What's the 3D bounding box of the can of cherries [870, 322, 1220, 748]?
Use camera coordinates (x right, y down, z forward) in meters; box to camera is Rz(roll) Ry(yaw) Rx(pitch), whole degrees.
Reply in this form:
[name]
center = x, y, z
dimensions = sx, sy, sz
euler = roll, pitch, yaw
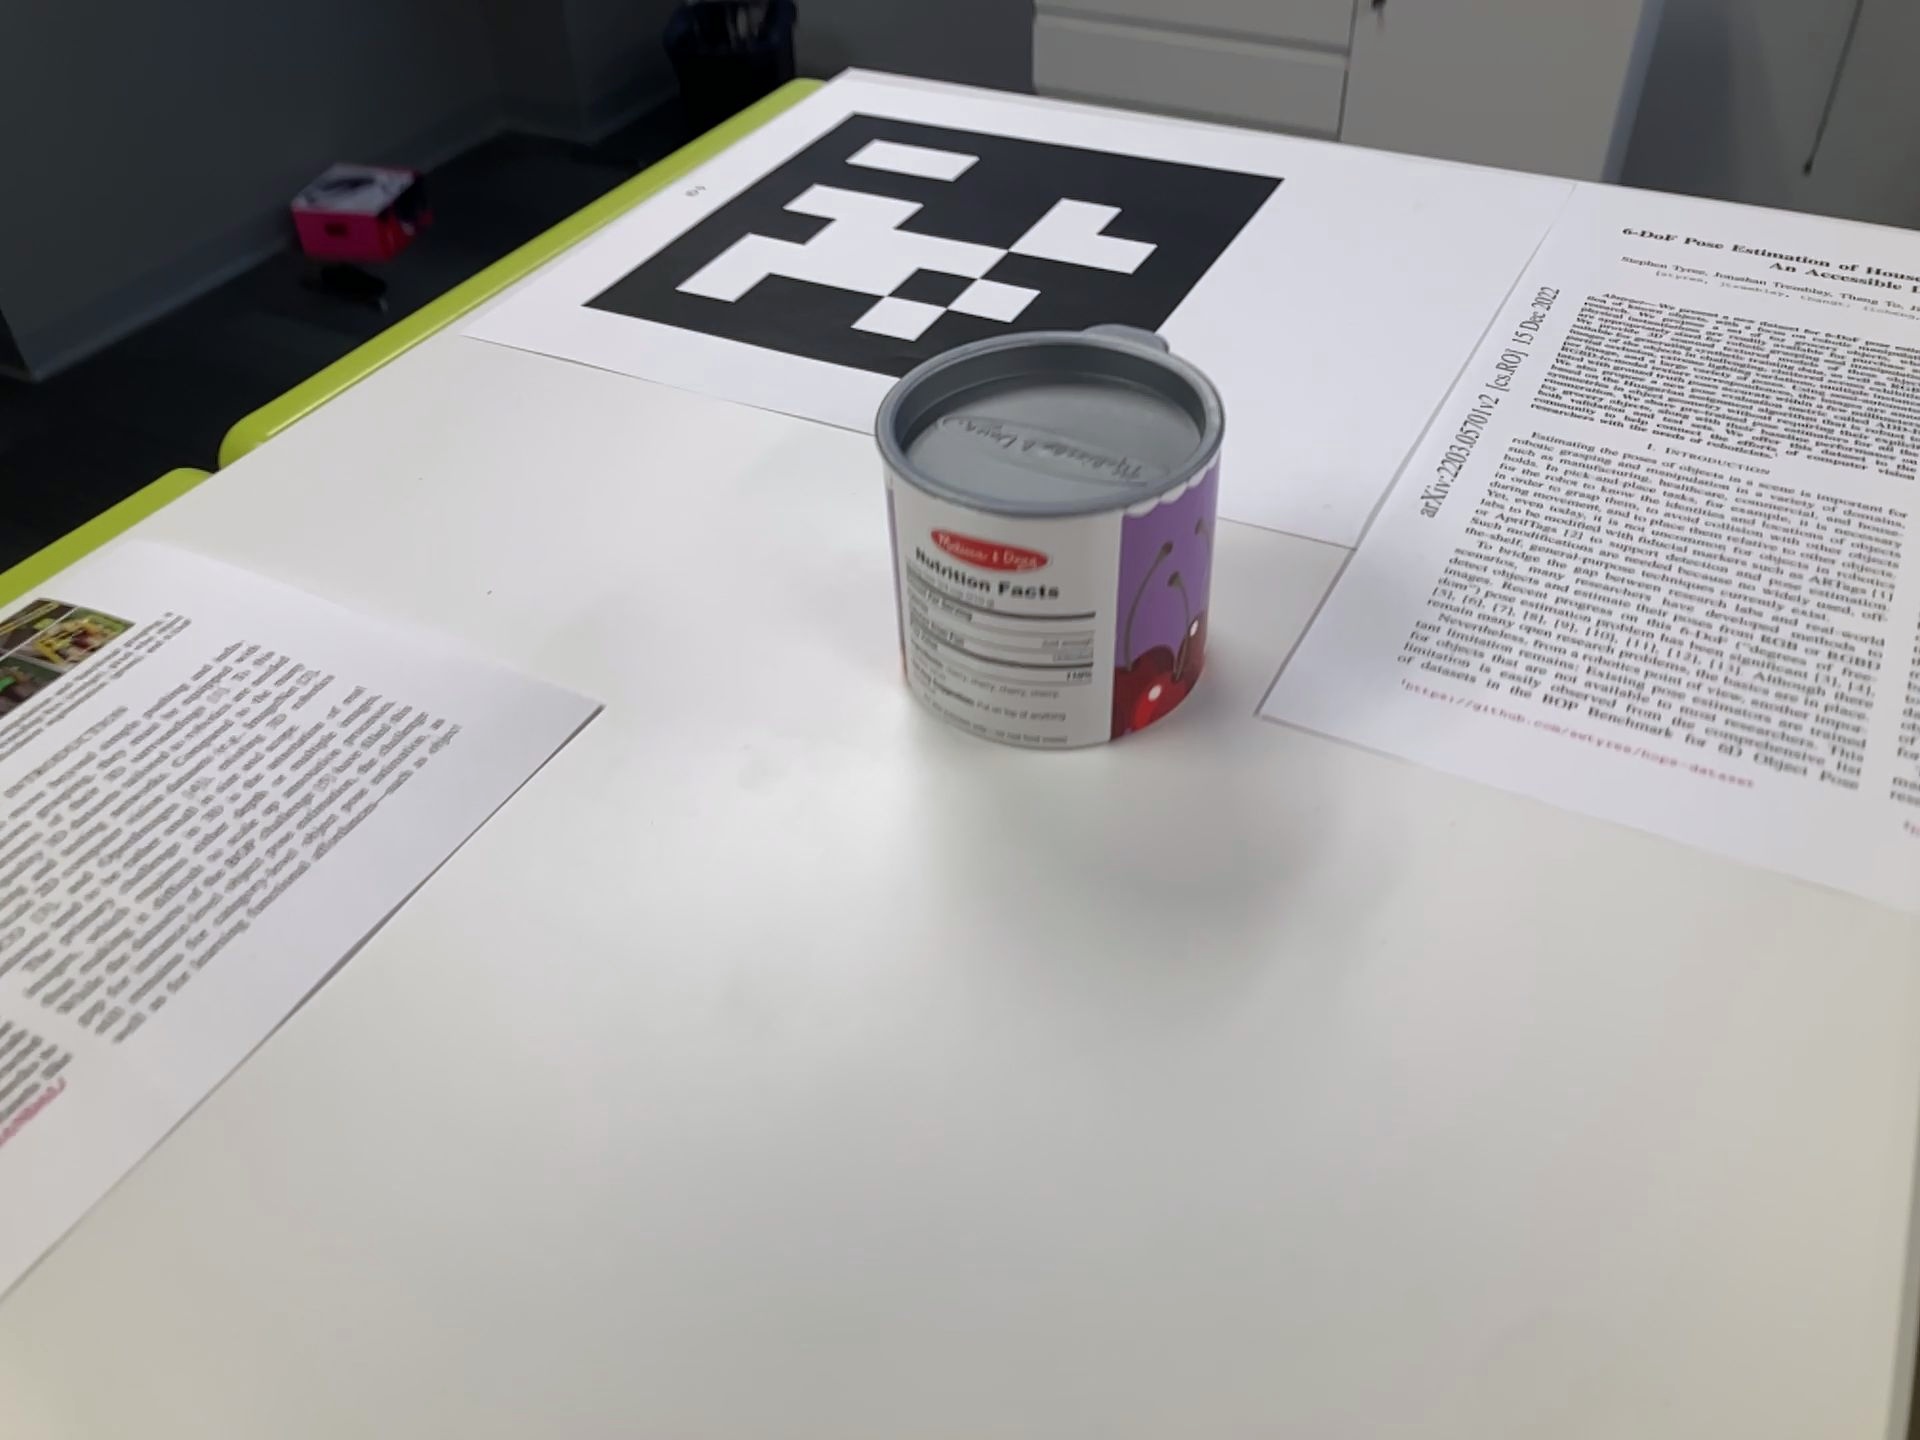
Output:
[can of cherries]
center = 0.019, -0.038, 0.320
dimensions = 0.071, 0.058, 0.071
euler = -2, 41, 2
